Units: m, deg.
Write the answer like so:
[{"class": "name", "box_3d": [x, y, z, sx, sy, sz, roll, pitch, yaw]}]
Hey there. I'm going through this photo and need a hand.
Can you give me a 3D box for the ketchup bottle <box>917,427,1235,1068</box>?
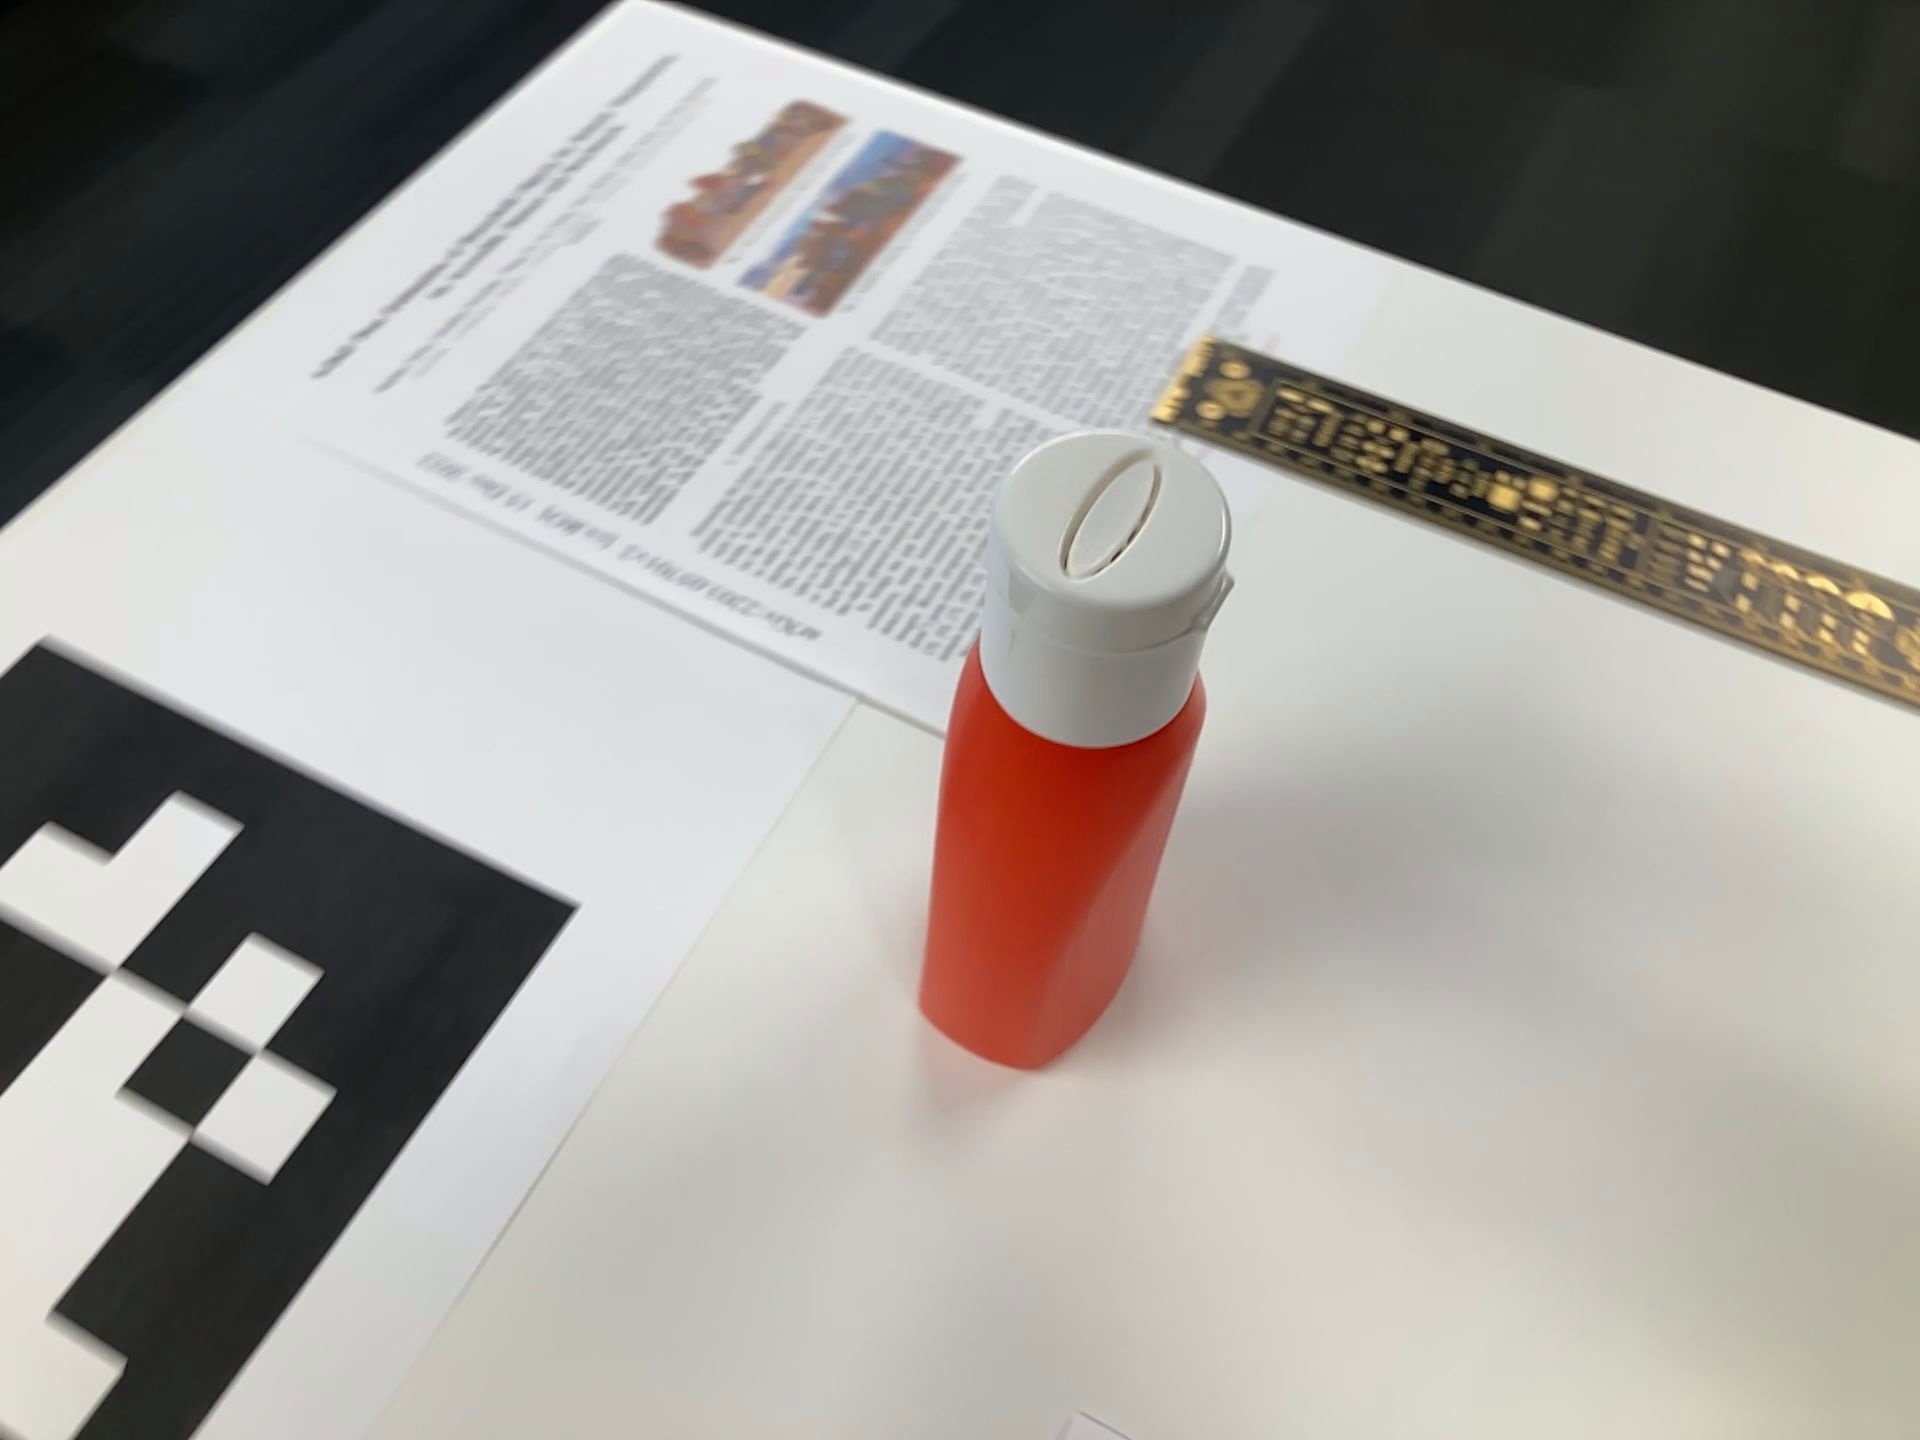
[{"class": "ketchup bottle", "box_3d": [0.020, 0.010, 0.299, 0.043, 0.149, 0.065, 26, 59, 13]}]
